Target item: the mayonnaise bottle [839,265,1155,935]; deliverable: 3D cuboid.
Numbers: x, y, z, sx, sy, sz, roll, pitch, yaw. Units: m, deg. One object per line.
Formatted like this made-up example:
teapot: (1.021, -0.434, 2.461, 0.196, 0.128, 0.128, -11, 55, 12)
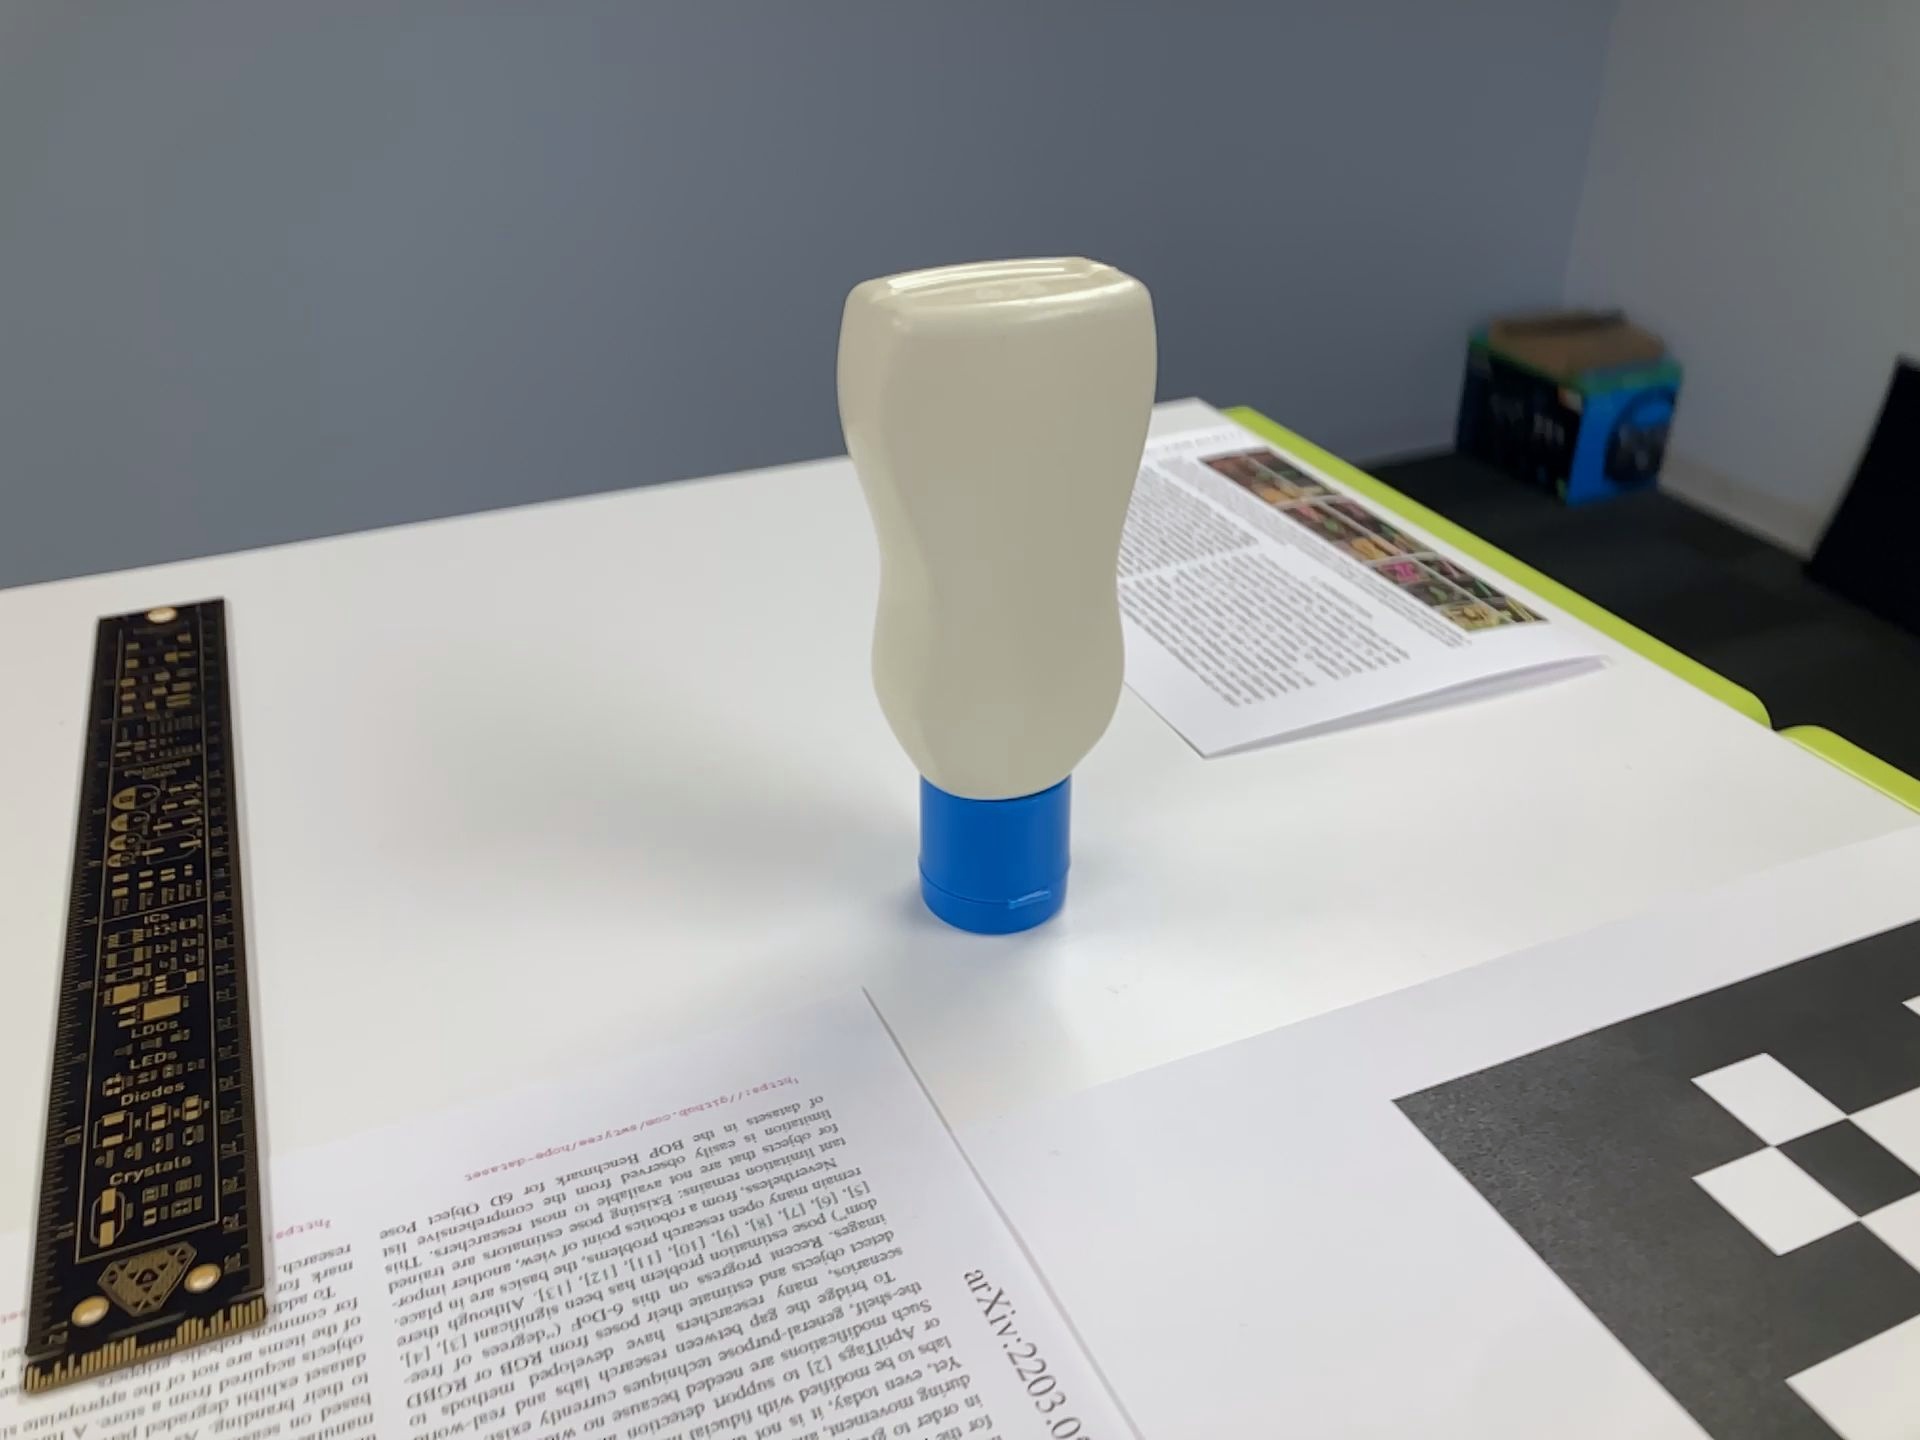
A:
mayonnaise bottle: (0.008, -0.022, 0.353, 0.065, 0.148, 0.041, -13, 32, -21)
